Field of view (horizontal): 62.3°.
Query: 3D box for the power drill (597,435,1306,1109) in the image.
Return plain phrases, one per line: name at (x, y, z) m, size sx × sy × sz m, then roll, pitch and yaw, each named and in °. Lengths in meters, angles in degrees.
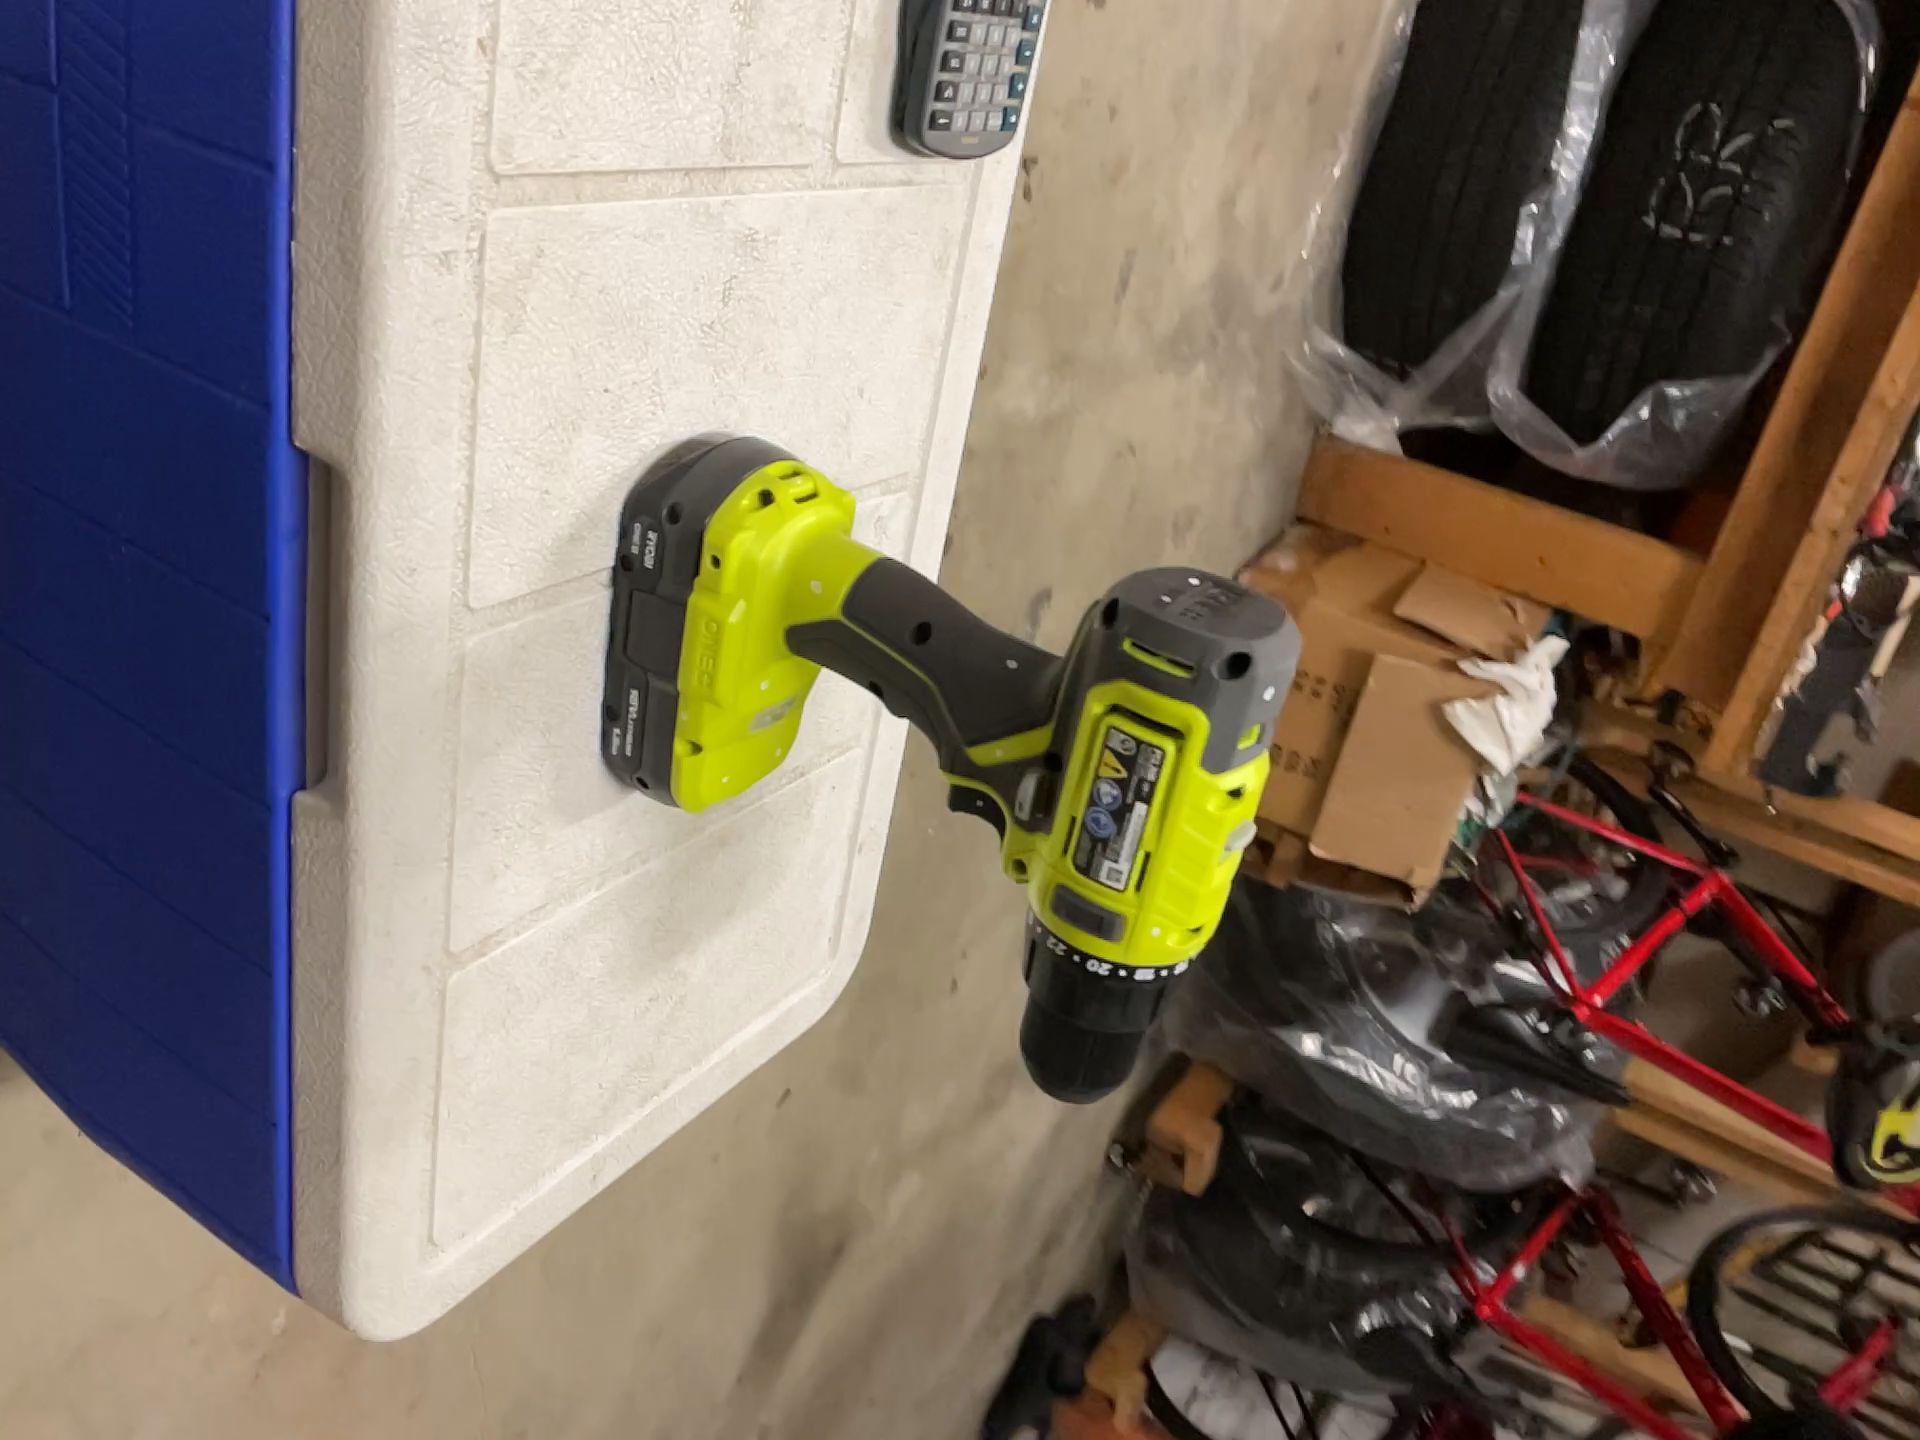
power drill at (-0.012, 0.015, 0.545) m, size 0.080 × 0.228 × 0.190 m, roll -31°, pitch 141°, yaw -53°
